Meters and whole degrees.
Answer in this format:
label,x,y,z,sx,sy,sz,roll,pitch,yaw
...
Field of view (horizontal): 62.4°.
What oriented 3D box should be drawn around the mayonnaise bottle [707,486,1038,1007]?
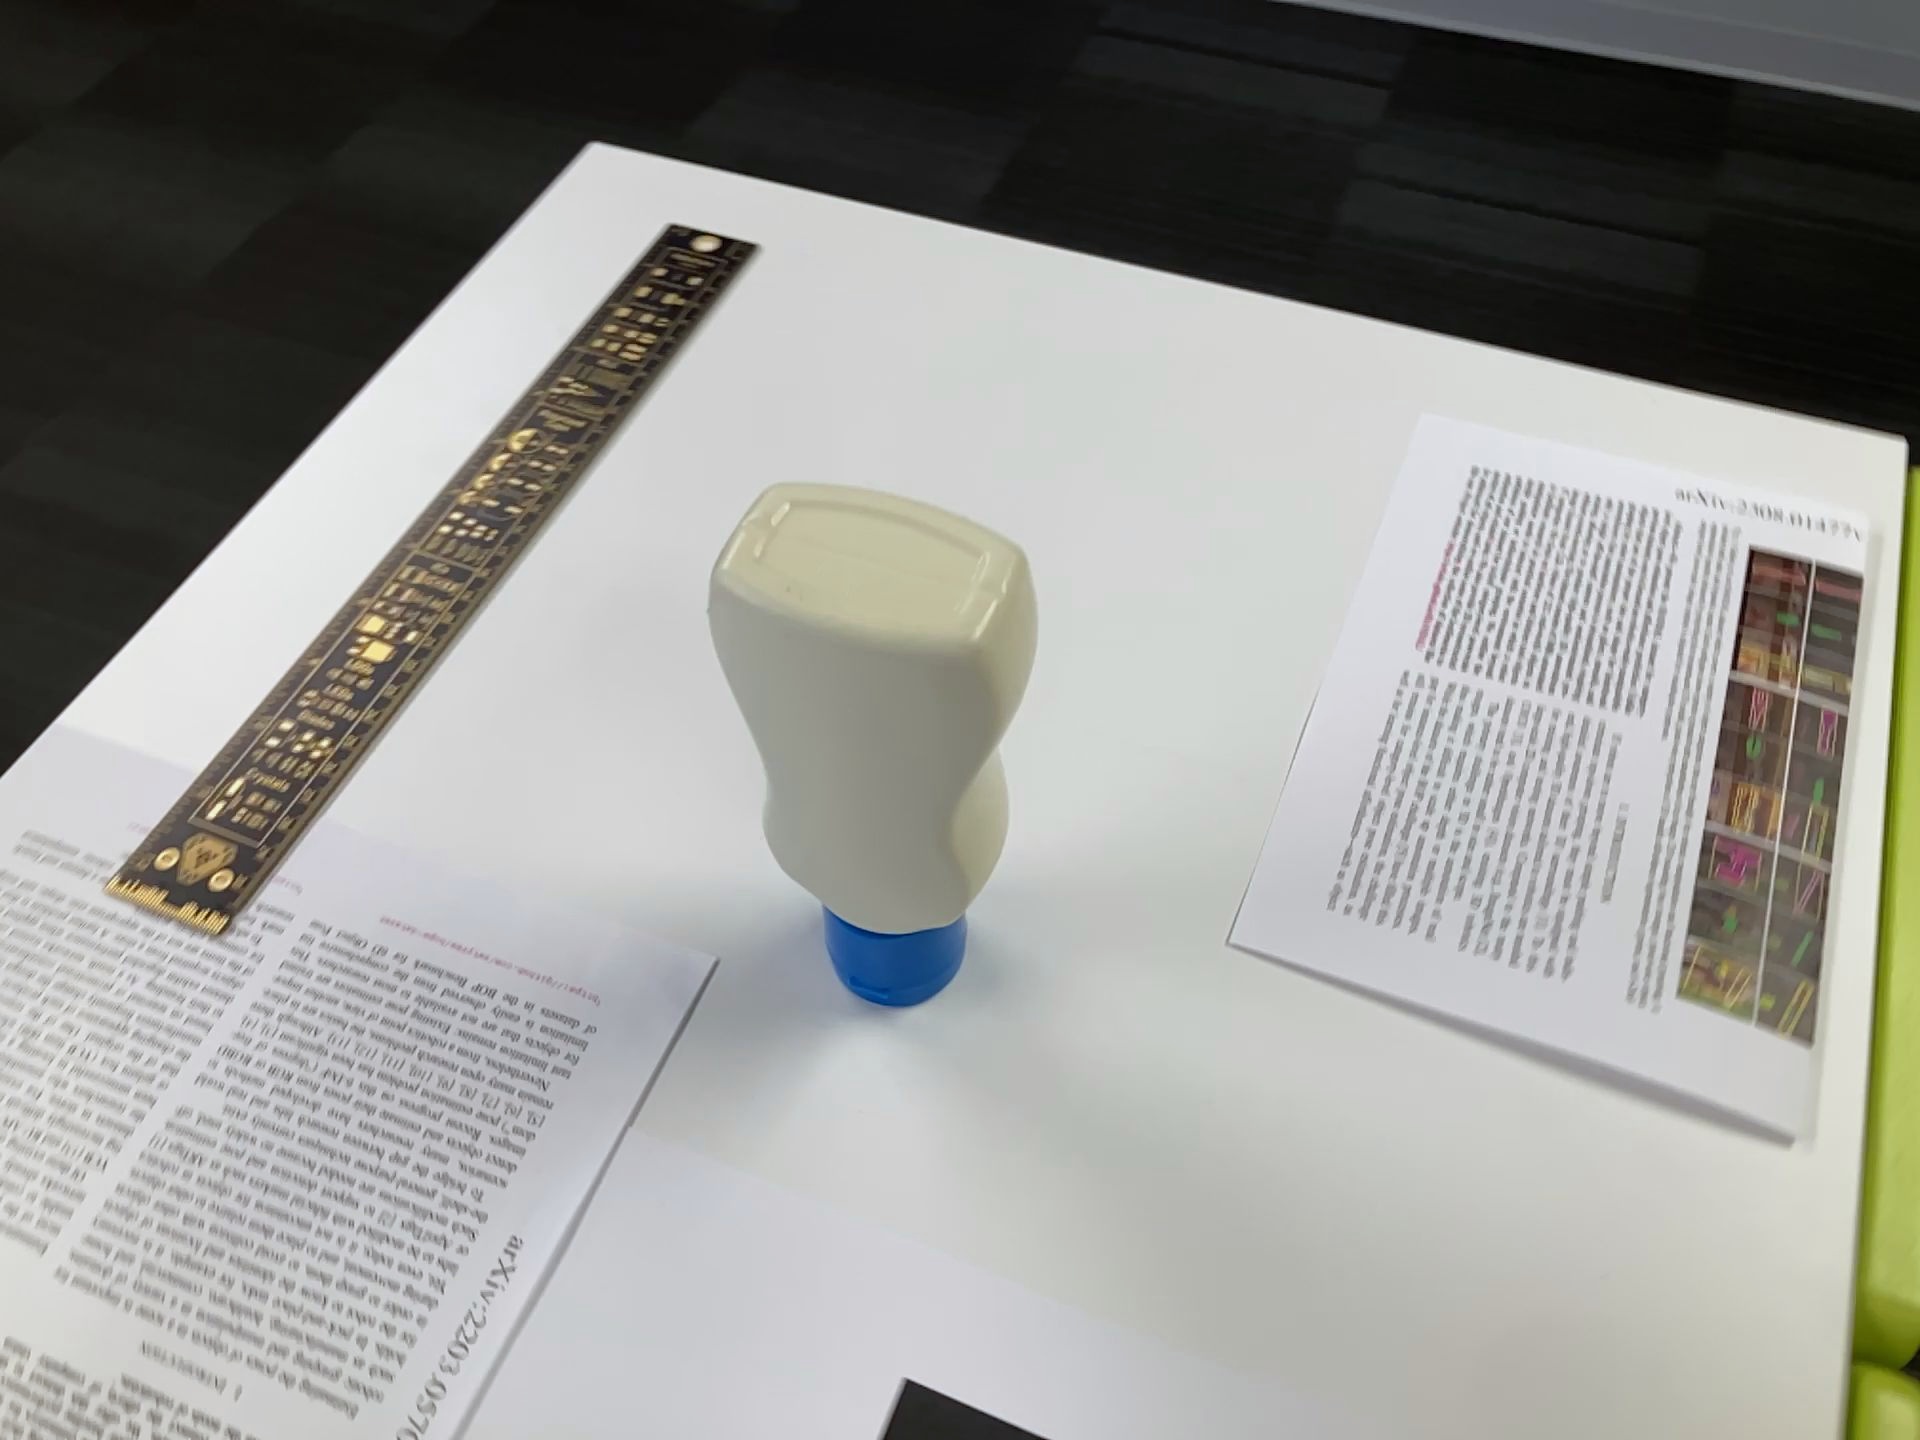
label,x,y,z,sx,sy,sz,roll,pitch,yaw
mayonnaise bottle,-0.017,0.015,0.359,0.065,0.148,0.041,17,55,13
